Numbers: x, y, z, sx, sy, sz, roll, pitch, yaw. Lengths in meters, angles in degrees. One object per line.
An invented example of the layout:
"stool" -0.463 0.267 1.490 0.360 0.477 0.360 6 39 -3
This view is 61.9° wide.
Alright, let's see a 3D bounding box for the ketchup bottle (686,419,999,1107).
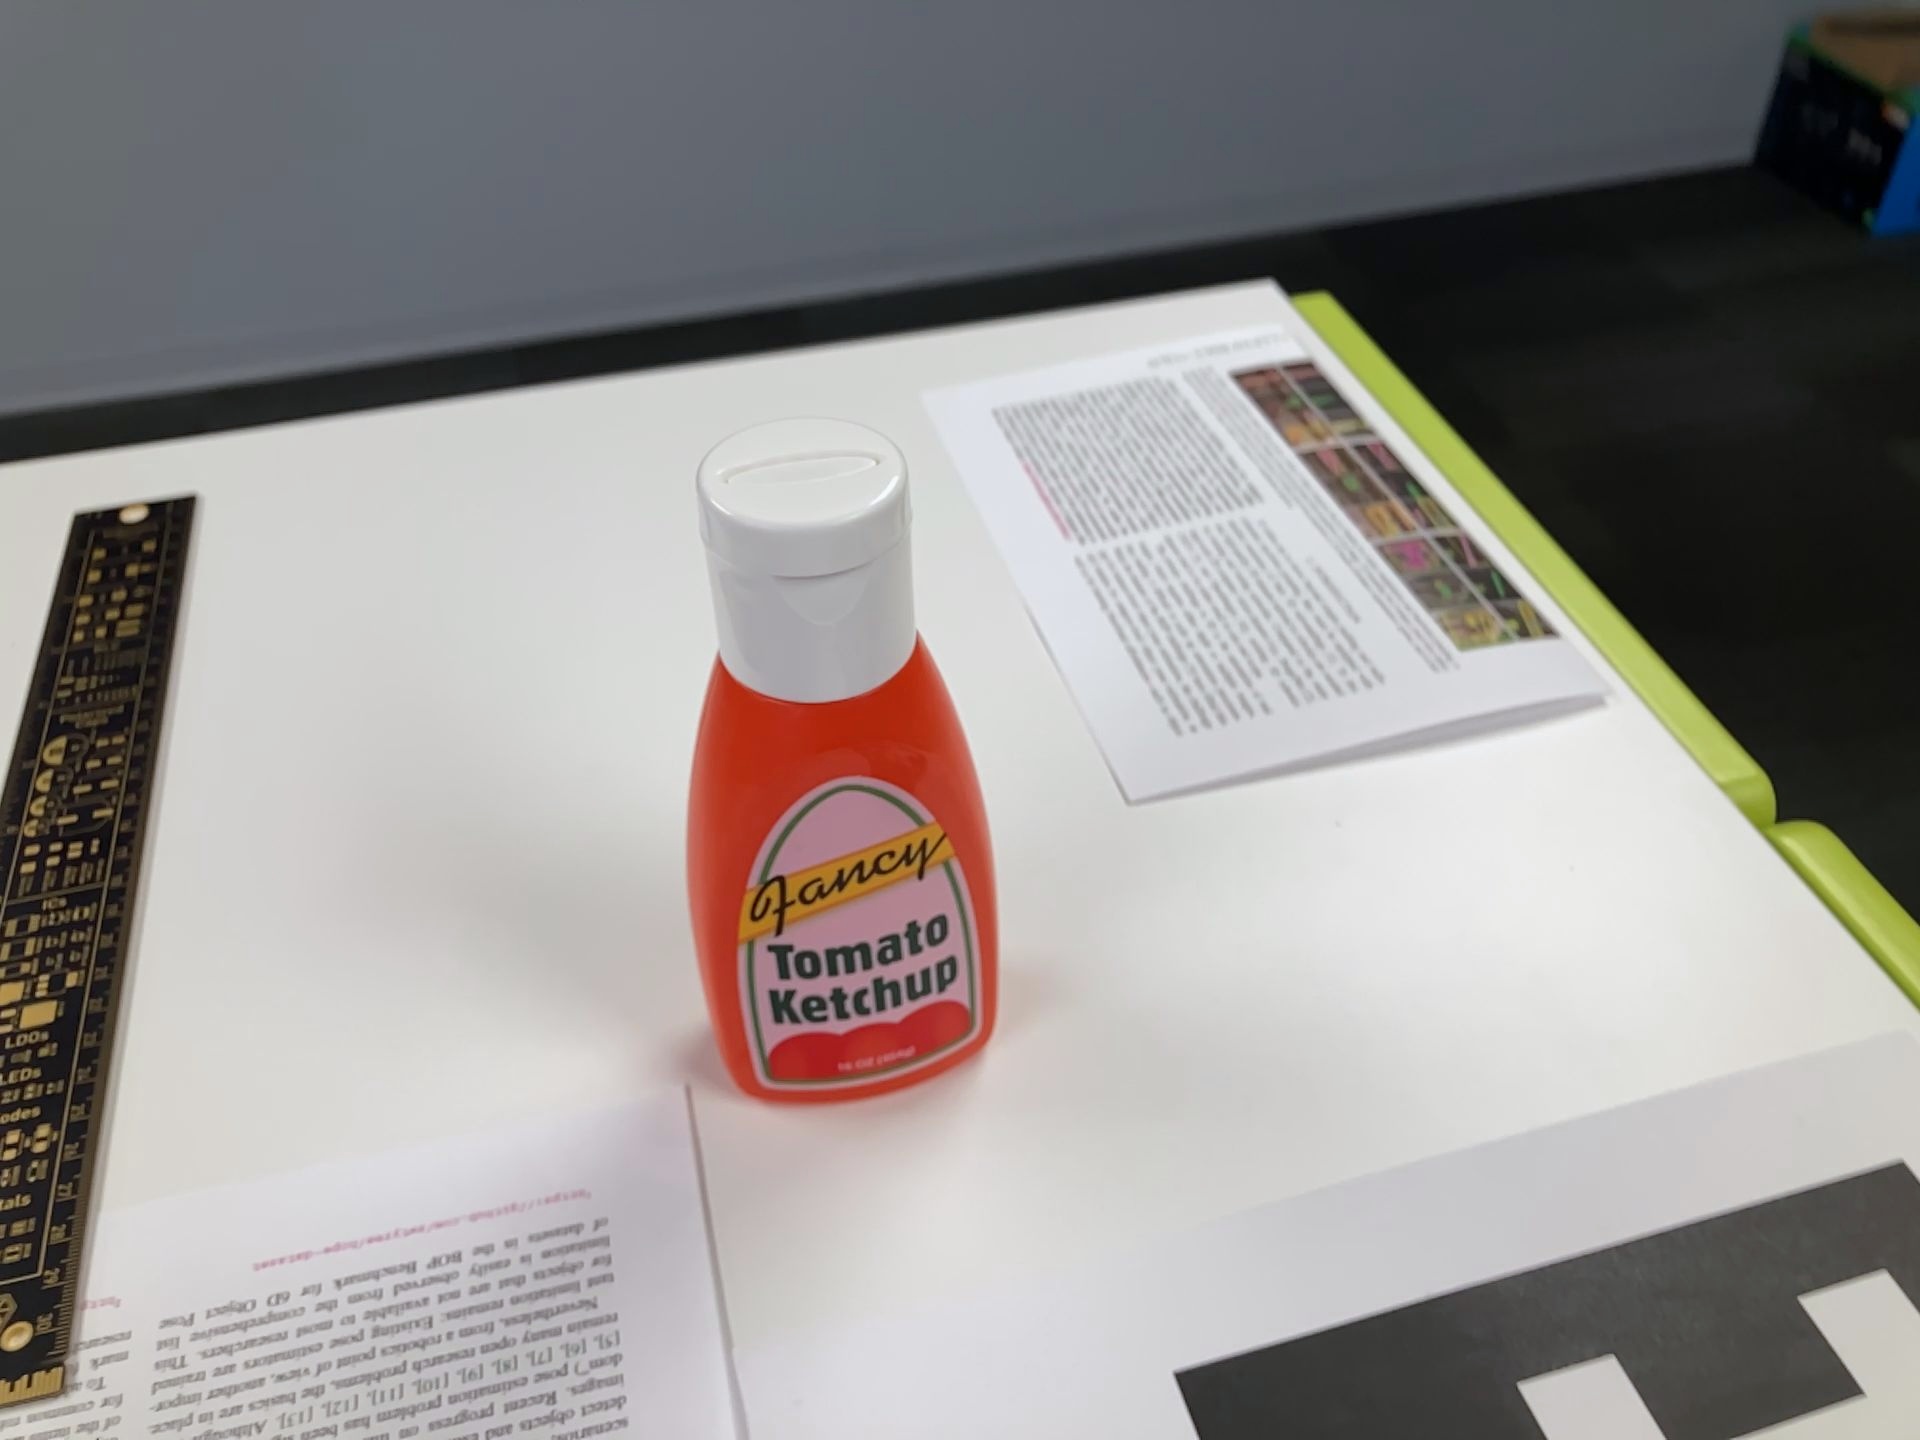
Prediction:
"ketchup bottle" -0.025 0.014 0.317 0.065 0.149 0.043 -10 40 -10
